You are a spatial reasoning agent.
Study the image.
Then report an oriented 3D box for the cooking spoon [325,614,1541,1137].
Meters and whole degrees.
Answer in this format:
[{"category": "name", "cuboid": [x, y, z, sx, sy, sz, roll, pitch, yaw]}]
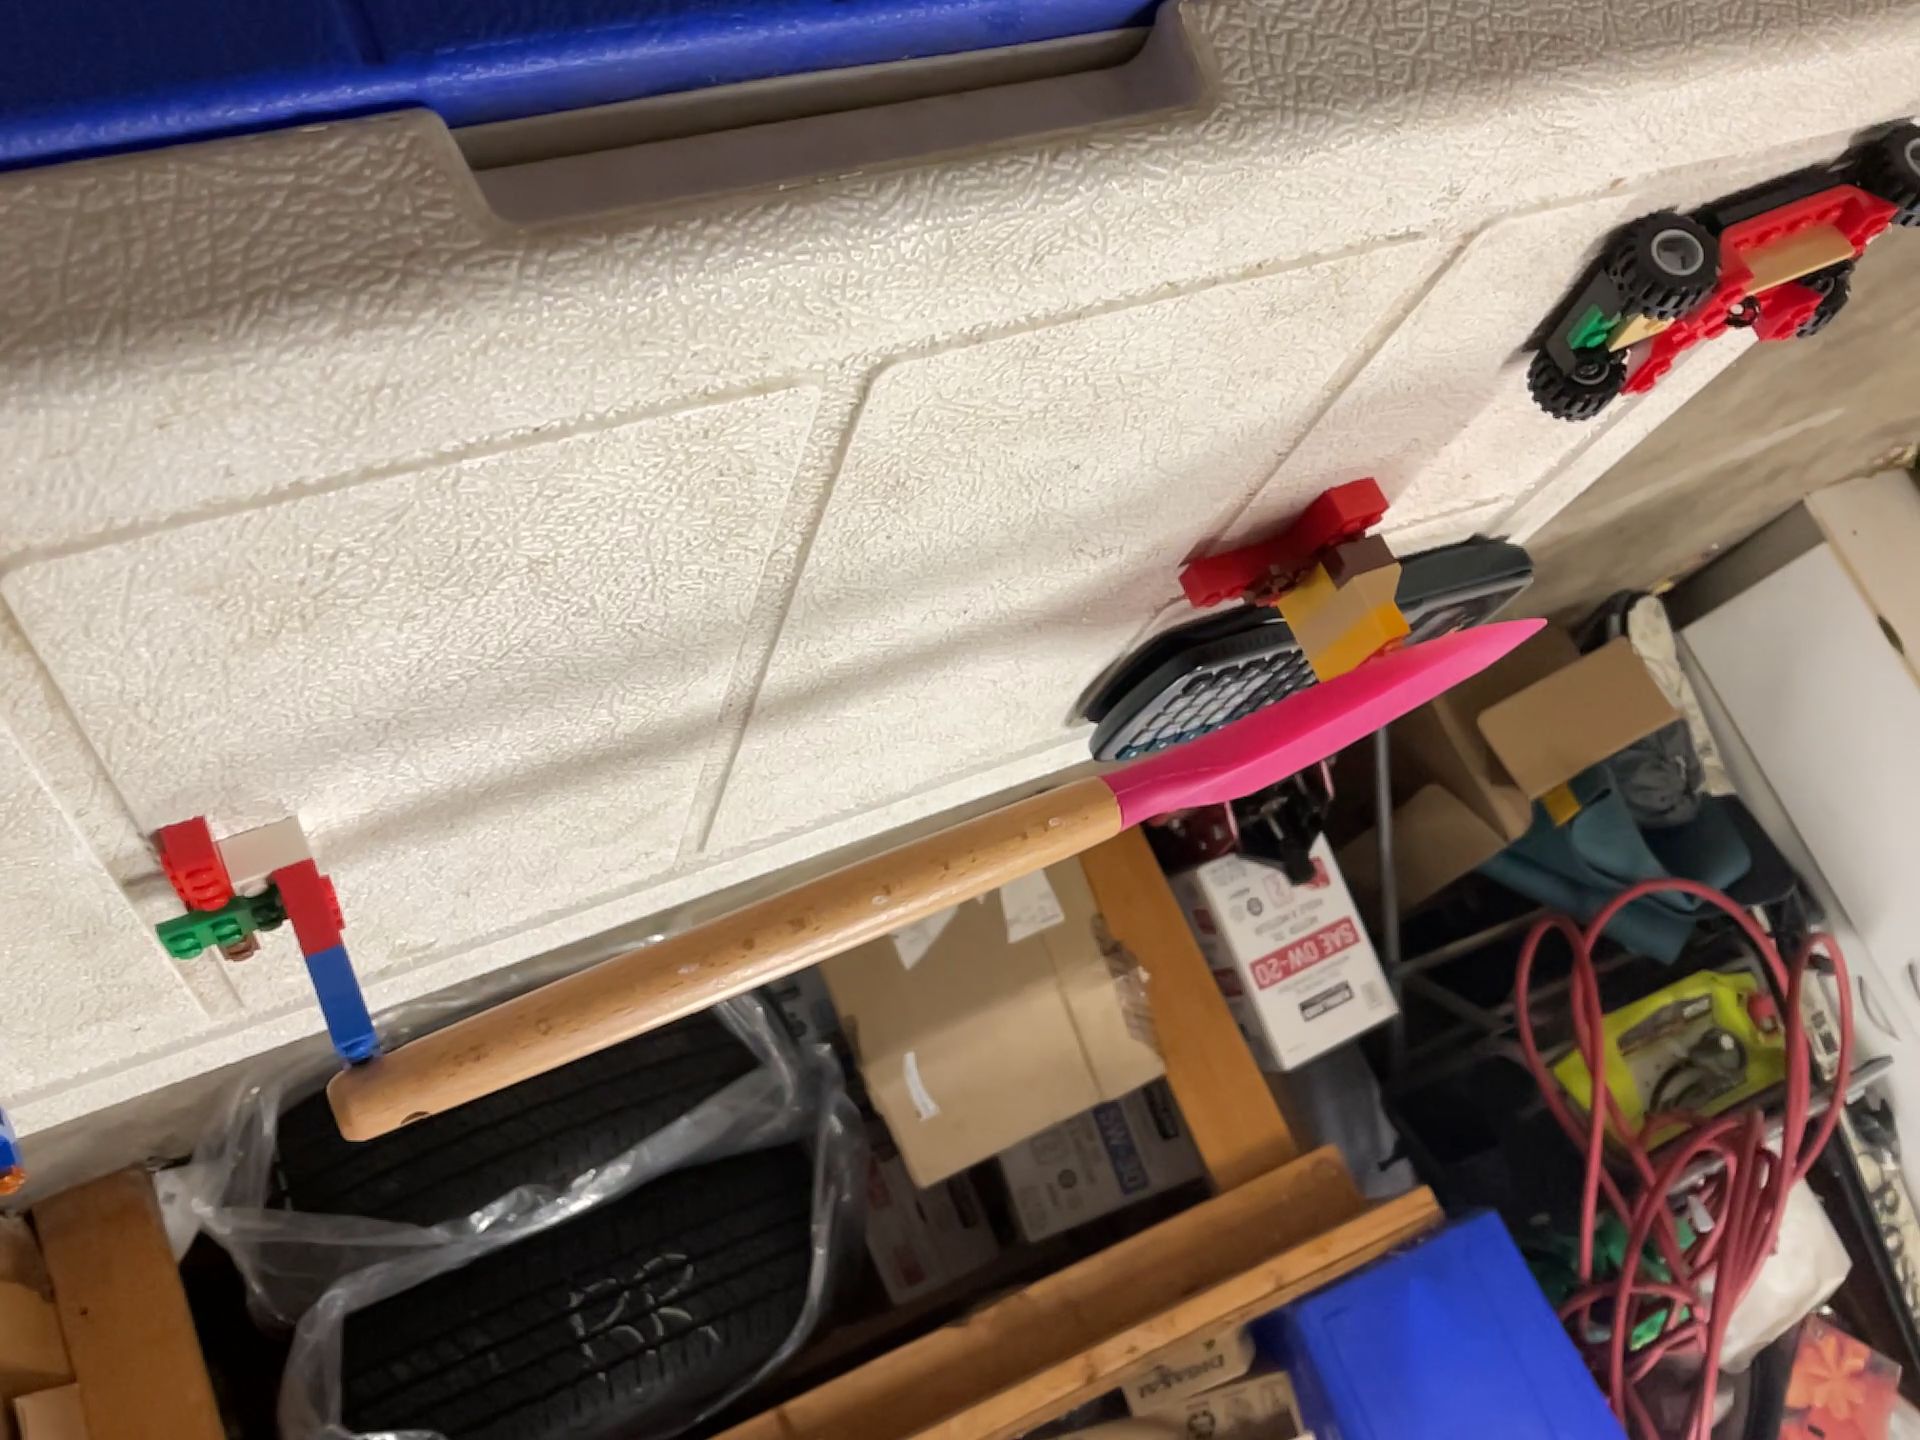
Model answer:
[{"category": "cooking spoon", "cuboid": [0.013, 0.028, 0.380, 0.319, 0.017, 0.068, -20, 164, -22]}]
